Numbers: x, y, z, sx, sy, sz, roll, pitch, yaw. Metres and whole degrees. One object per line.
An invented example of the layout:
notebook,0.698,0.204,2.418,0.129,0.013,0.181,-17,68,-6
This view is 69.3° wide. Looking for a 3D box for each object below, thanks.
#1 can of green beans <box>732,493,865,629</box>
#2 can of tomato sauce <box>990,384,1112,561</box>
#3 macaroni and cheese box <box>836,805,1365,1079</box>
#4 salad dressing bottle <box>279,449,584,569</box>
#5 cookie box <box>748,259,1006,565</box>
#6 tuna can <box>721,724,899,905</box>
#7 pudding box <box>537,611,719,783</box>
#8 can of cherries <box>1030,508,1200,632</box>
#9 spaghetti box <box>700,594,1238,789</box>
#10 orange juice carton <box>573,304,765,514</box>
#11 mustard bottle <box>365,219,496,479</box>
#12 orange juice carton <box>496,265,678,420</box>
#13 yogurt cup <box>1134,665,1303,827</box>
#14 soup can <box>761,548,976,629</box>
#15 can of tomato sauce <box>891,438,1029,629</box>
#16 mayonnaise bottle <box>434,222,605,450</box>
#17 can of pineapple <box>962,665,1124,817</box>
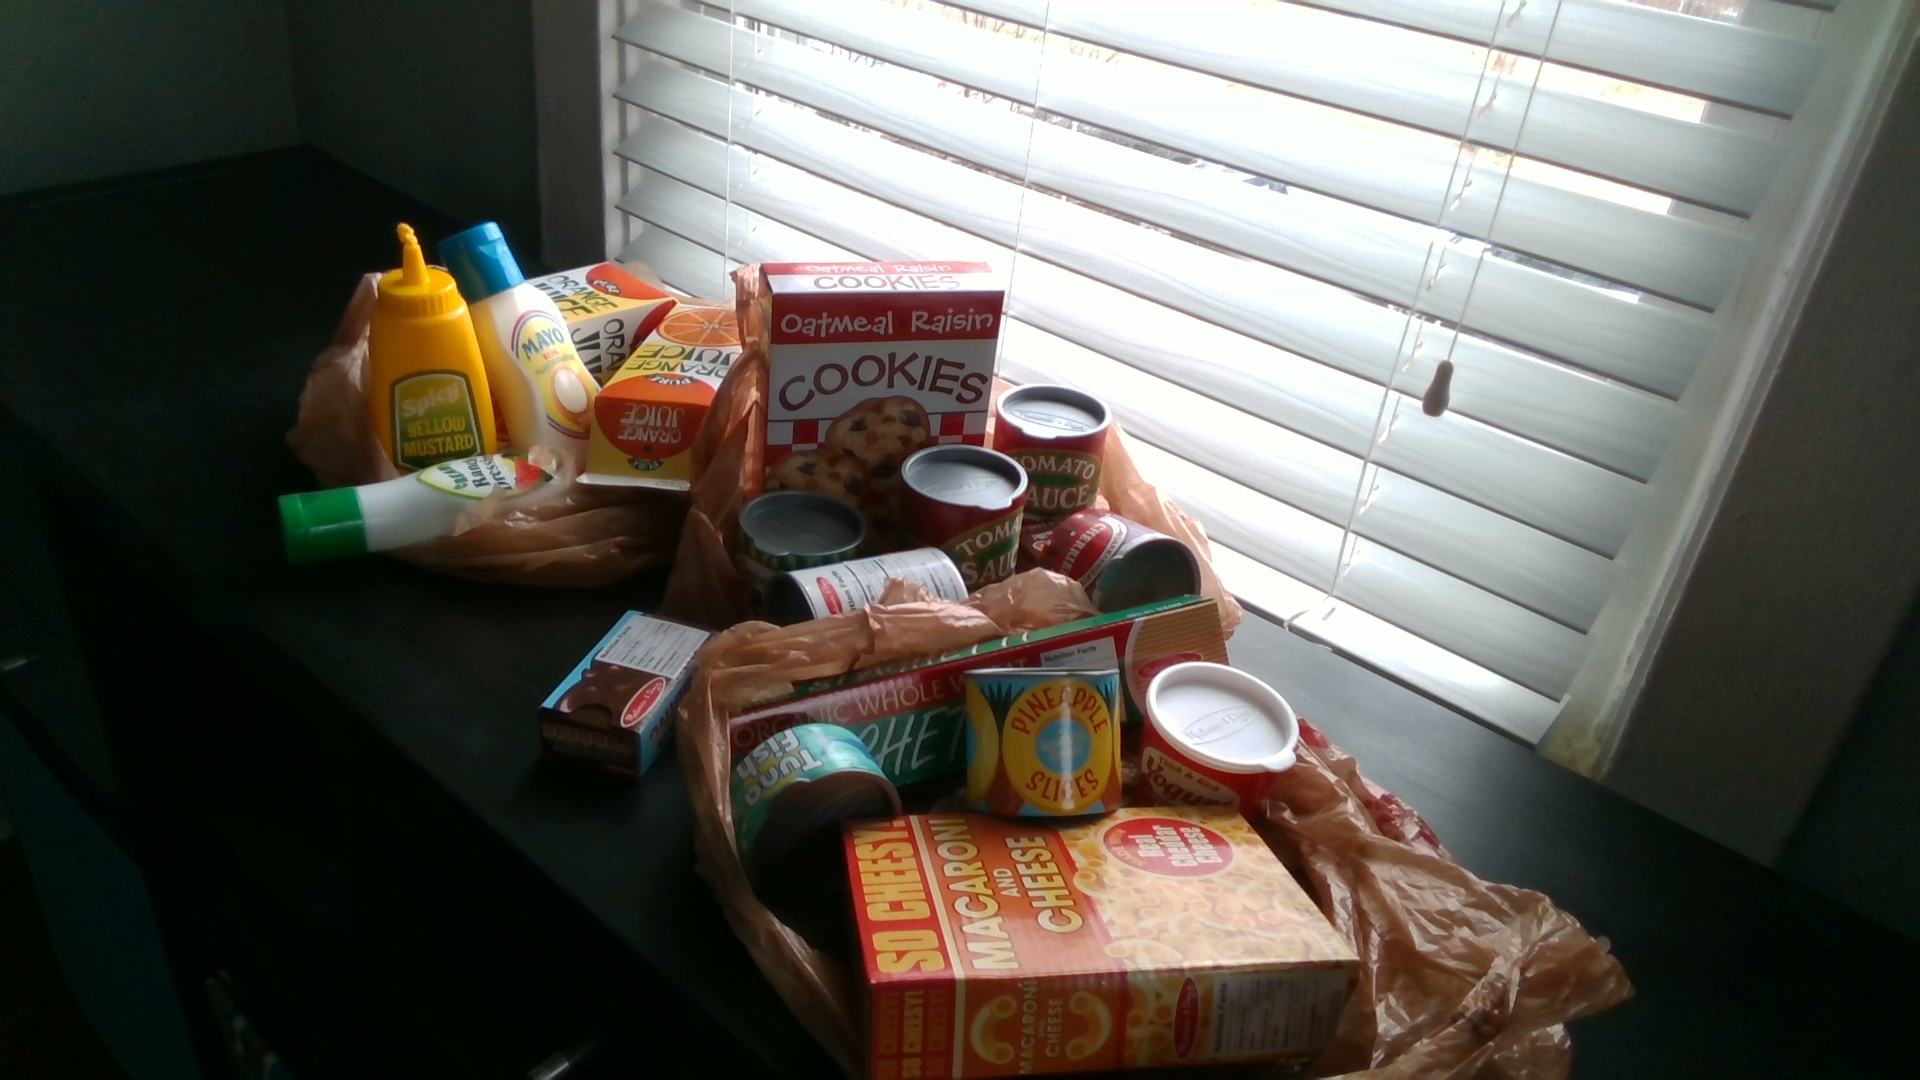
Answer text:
can of green beans,-0.086,0.015,0.716,0.071,0.057,0.071,8,26,-4
can of tomato sauce,0.047,-0.037,0.789,0.071,0.082,0.071,6,30,-3
macaroni and cheese box,0.042,0.142,0.509,0.167,0.040,0.124,0,13,-10
salad dressing bottle,-0.278,-0.015,0.736,0.148,0.043,0.064,-12,32,-26
cookie box,-0.048,-0.065,0.741,0.123,0.166,0.040,-4,33,-19
tuna can,-0.062,0.106,0.549,0.071,0.070,0.033,-14,35,-30
pudding box,-0.149,0.069,0.633,0.050,0.030,0.084,12,32,11
can of cherries,0.076,0.020,0.703,0.072,0.071,0.058,-15,22,-31
spaghetti box,0.009,0.072,0.614,0.251,0.050,0.028,-11,5,-20
orange juice carton,-0.161,-0.072,0.819,0.072,0.072,0.193,6,29,4
mustard bottle,-0.290,-0.095,0.750,0.065,0.159,0.049,-12,37,-25
orange juice carton,-0.251,-0.124,0.889,0.072,0.072,0.193,29,35,32
yogurt cup,0.109,0.095,0.607,0.072,0.053,0.073,10,31,-6
soup can,-0.045,0.044,0.661,0.084,0.071,0.071,-9,34,-27
can of tomato sauce,-0.001,0.000,0.715,0.071,0.082,0.071,5,33,-3
mayonnaise bottle,-0.249,-0.107,0.797,0.041,0.147,0.065,-14,18,36
can of pineapple,0.035,0.082,0.573,0.071,0.058,0.071,-1,-4,0
